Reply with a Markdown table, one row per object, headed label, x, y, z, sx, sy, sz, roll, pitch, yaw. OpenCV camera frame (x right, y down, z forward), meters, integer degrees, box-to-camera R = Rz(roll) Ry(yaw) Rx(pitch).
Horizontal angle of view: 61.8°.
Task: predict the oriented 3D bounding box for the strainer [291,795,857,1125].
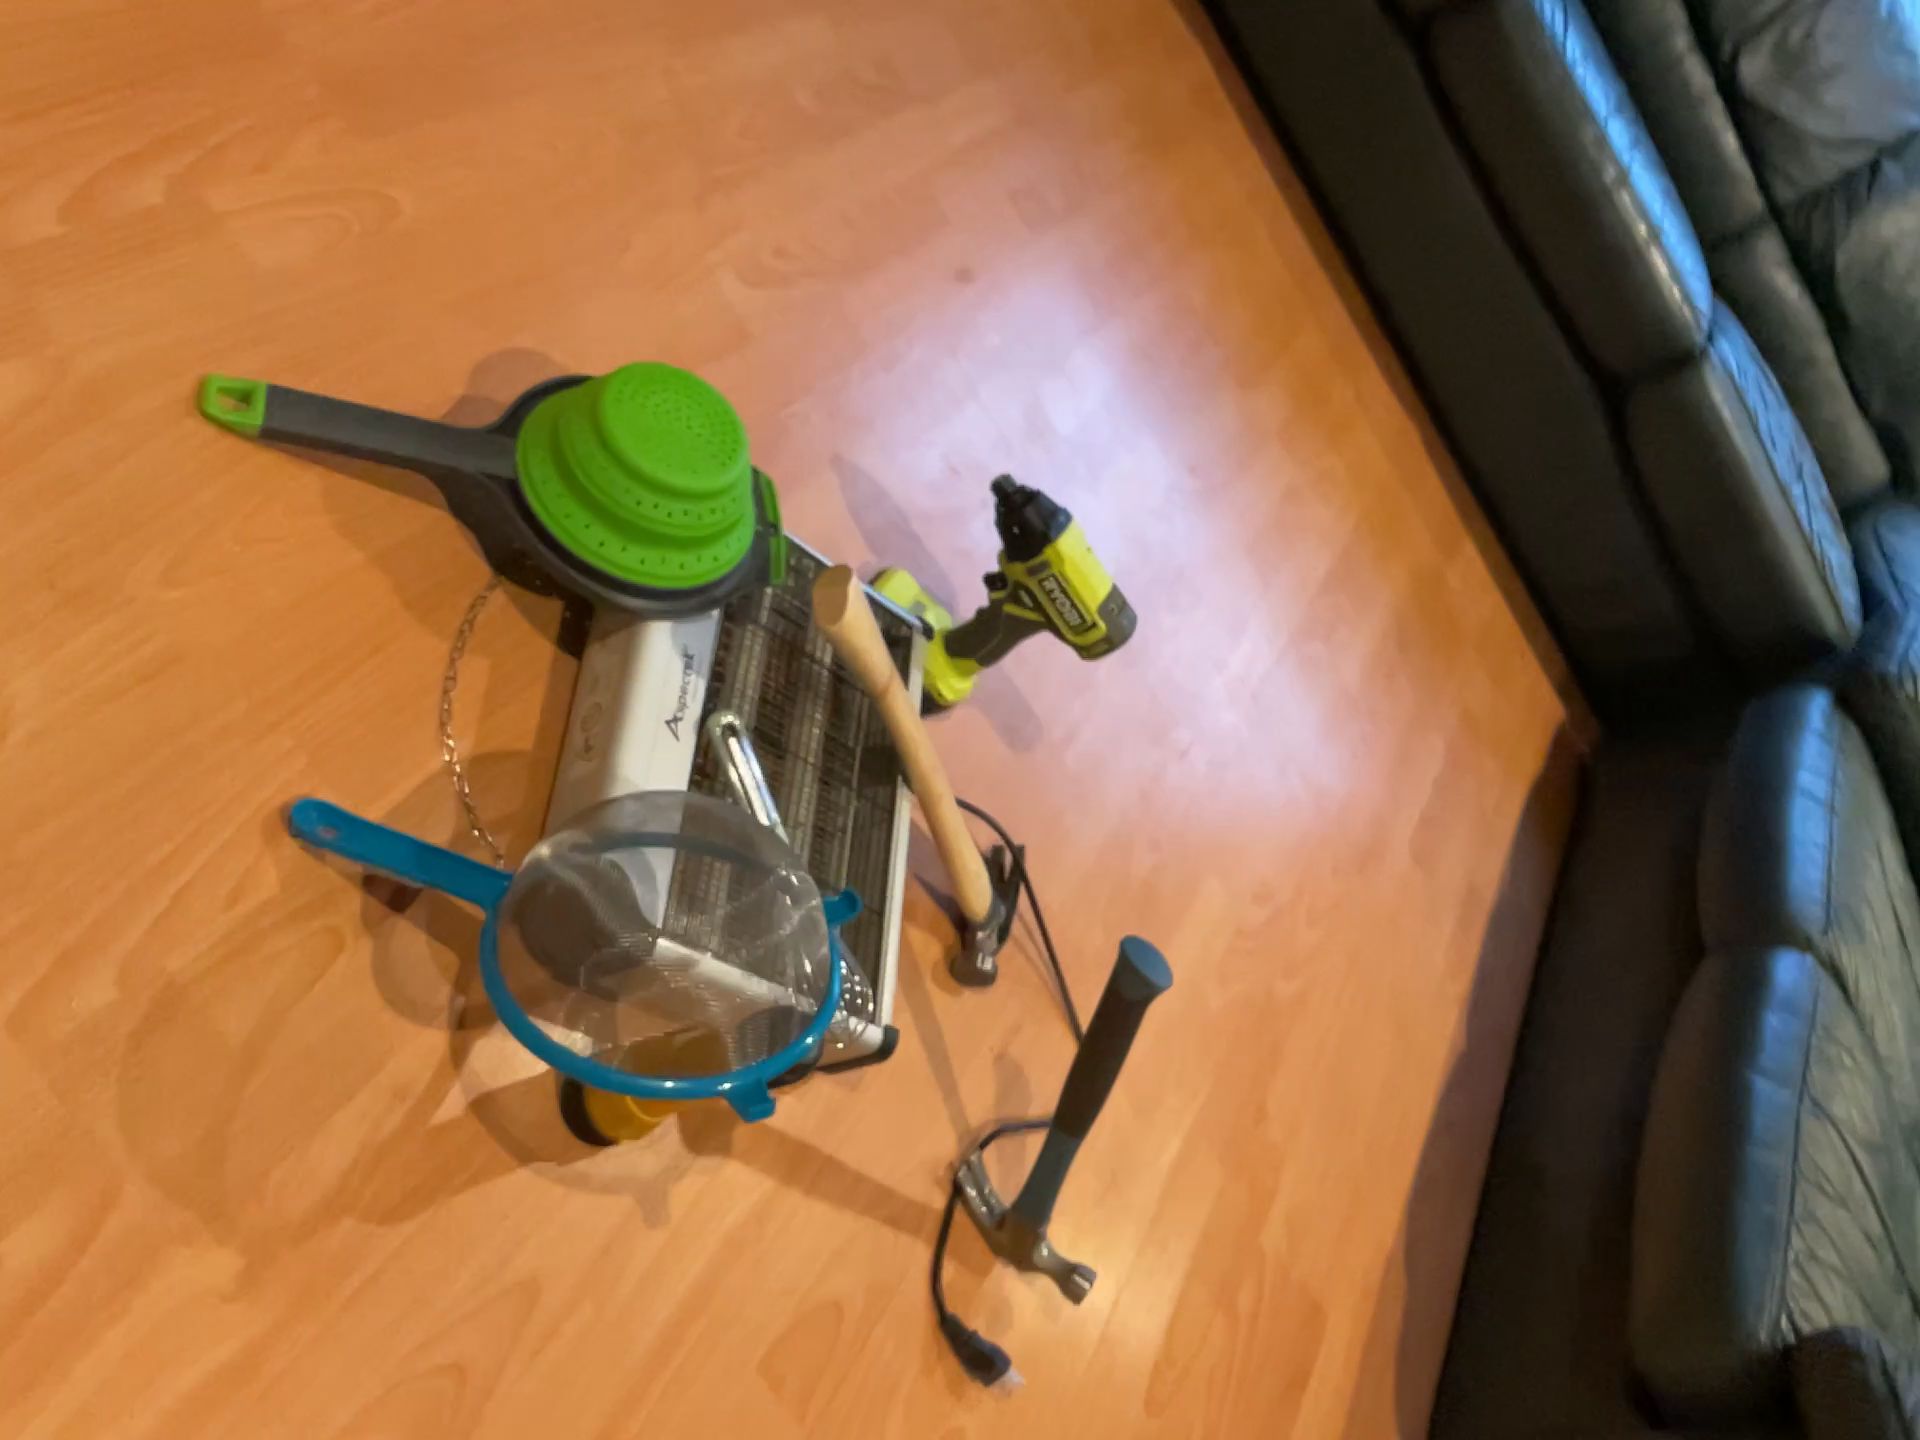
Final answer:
| label | x | y | z | sx | sy | sz | roll | pitch | yaw |
| --- | --- | --- | --- | --- | --- | --- | --- | --- | --- |
| strainer | -0.224 | 0.087 | 0.929 | 0.340 | 0.095 | 0.211 | 21 | 34 | 1 |

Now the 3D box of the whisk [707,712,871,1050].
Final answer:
| label | x | y | z | sx | sy | sz | roll | pitch | yaw |
| --- | --- | --- | --- | --- | --- | --- | --- | --- | --- |
| whisk | -0.121 | 0.108 | 1.096 | 0.058 | 0.059 | 0.246 | -19 | 83 | -23 |

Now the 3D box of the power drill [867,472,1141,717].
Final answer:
| label | x | y | z | sx | sy | sz | roll | pitch | yaw |
| --- | --- | --- | --- | --- | --- | --- | --- | --- | --- |
| power drill | 0.020 | -0.103 | 1.363 | 0.171 | 0.223 | 0.080 | 54 | 39 | -16 |

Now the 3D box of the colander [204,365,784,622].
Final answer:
| label | x | y | z | sx | sy | sz | roll | pitch | yaw |
| --- | --- | --- | --- | --- | --- | --- | --- | --- | --- |
| colander | -0.283 | -0.189 | 1.074 | 0.397 | 0.094 | 0.204 | 10 | 56 | -29 |

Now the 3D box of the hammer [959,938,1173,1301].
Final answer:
| label | x | y | z | sx | sy | sz | roll | pitch | yaw |
| --- | --- | --- | --- | --- | --- | --- | --- | --- | --- |
| hammer | 0.088 | 0.293 | 1.191 | 0.128 | 0.330 | 0.033 | 29 | 35 | 17 |

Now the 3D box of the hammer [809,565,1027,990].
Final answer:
| label | x | y | z | sx | sy | sz | roll | pitch | yaw |
| --- | --- | --- | --- | --- | --- | --- | --- | --- | --- |
| hammer | -0.027 | 0.036 | 1.261 | 0.410 | 0.038 | 0.146 | 67 | 30 | -41 |
